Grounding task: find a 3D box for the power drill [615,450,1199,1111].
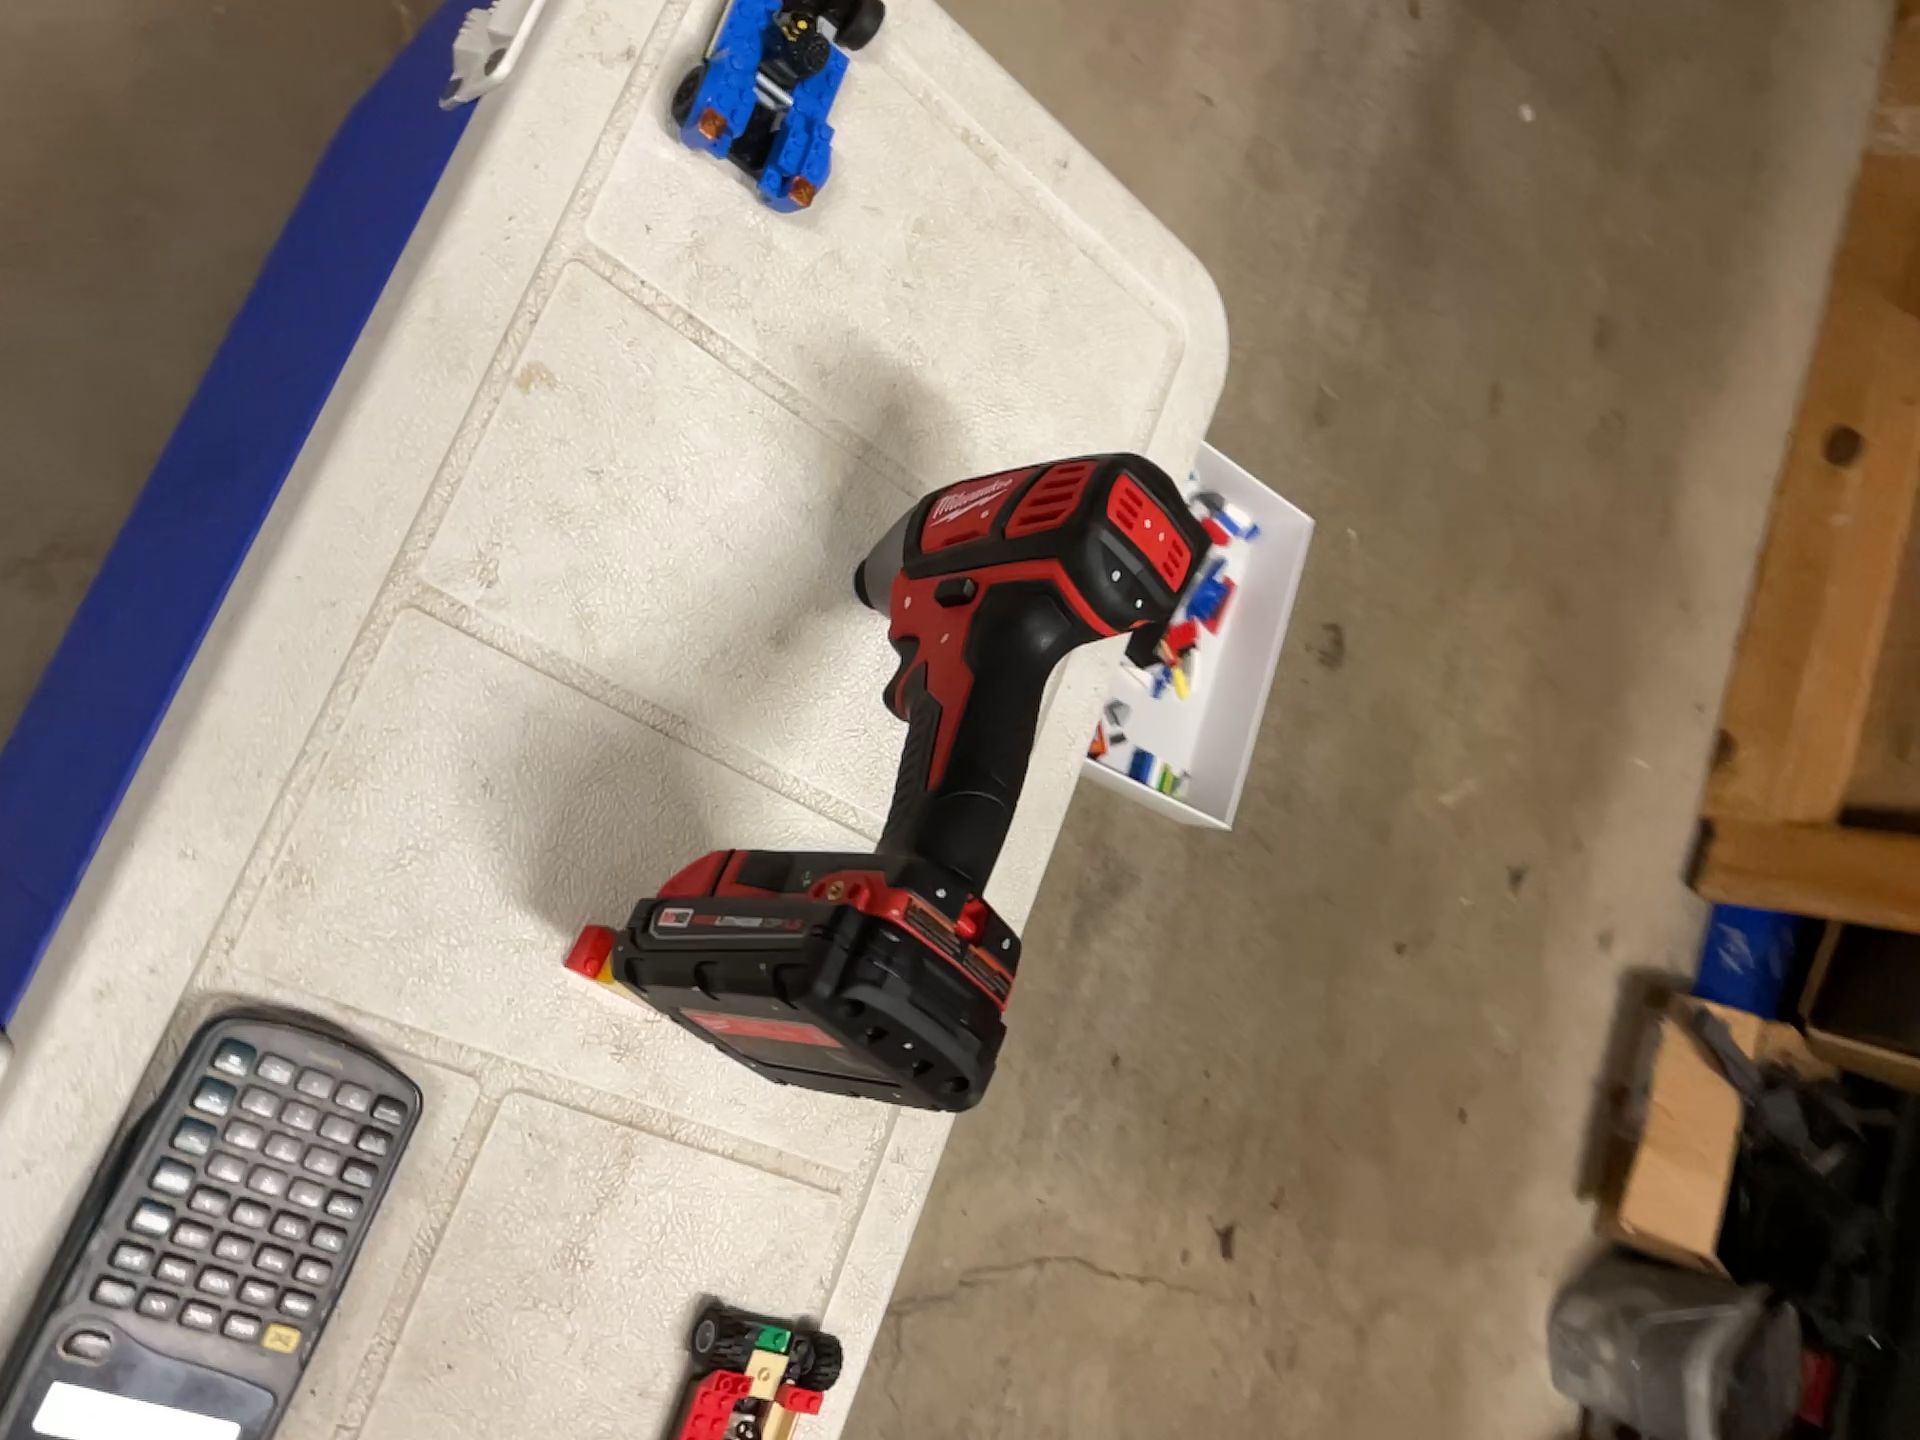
[{"bbox_3d":[-0.016,0.009,0.534,0.078,0.143,0.220,43,59,-34],"label":"power drill"}]
